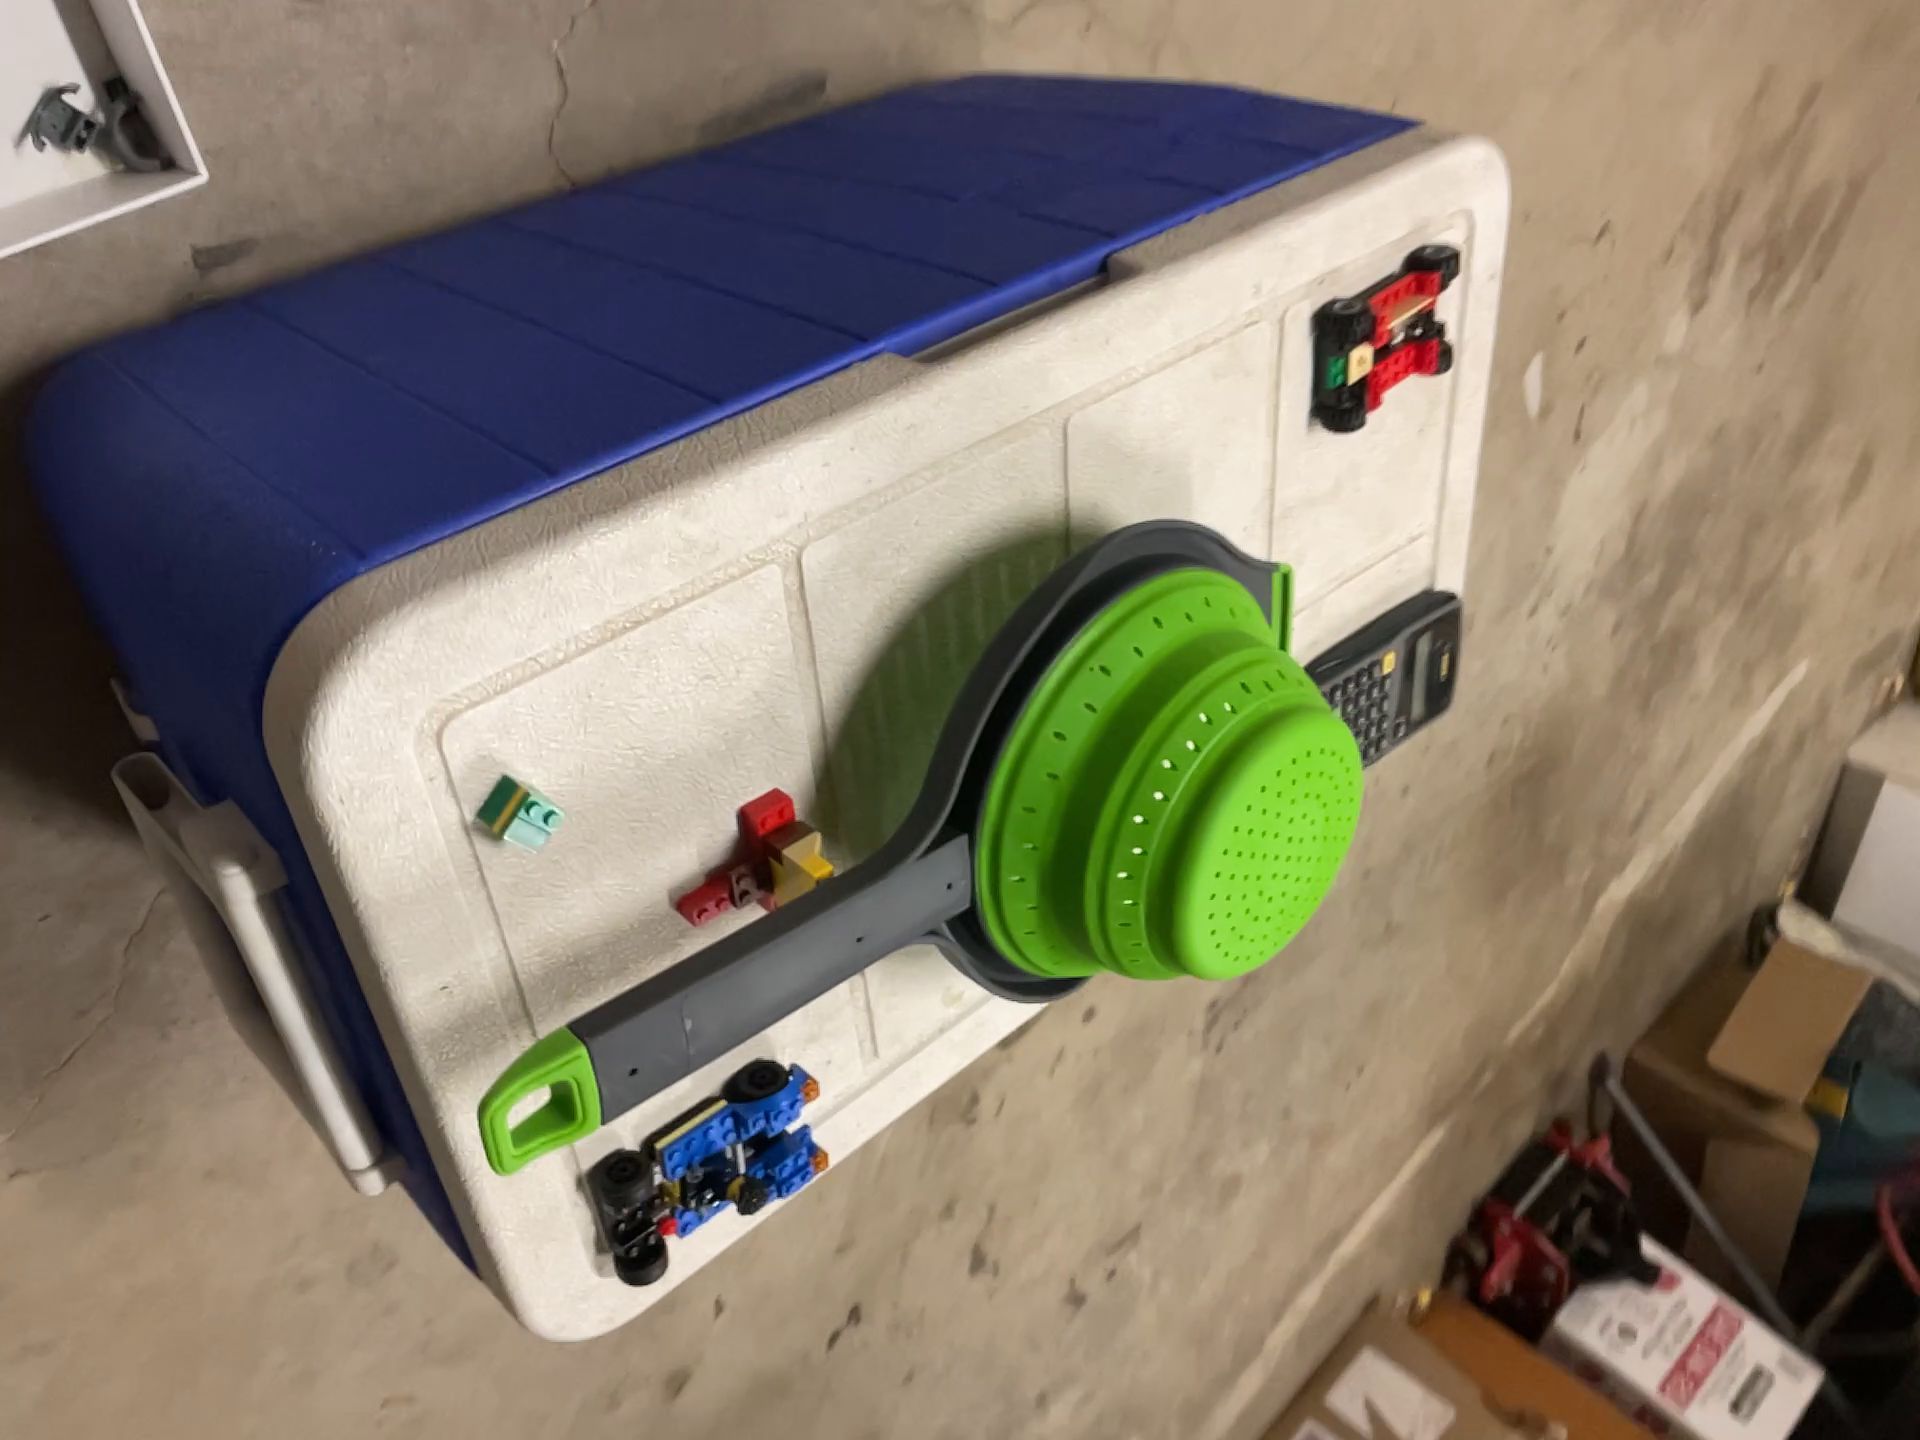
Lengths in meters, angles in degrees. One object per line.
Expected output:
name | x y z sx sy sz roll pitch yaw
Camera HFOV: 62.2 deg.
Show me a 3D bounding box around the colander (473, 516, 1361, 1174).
colander | 0.026 0.063 0.564 0.397 0.095 0.204 -27 130 -35
